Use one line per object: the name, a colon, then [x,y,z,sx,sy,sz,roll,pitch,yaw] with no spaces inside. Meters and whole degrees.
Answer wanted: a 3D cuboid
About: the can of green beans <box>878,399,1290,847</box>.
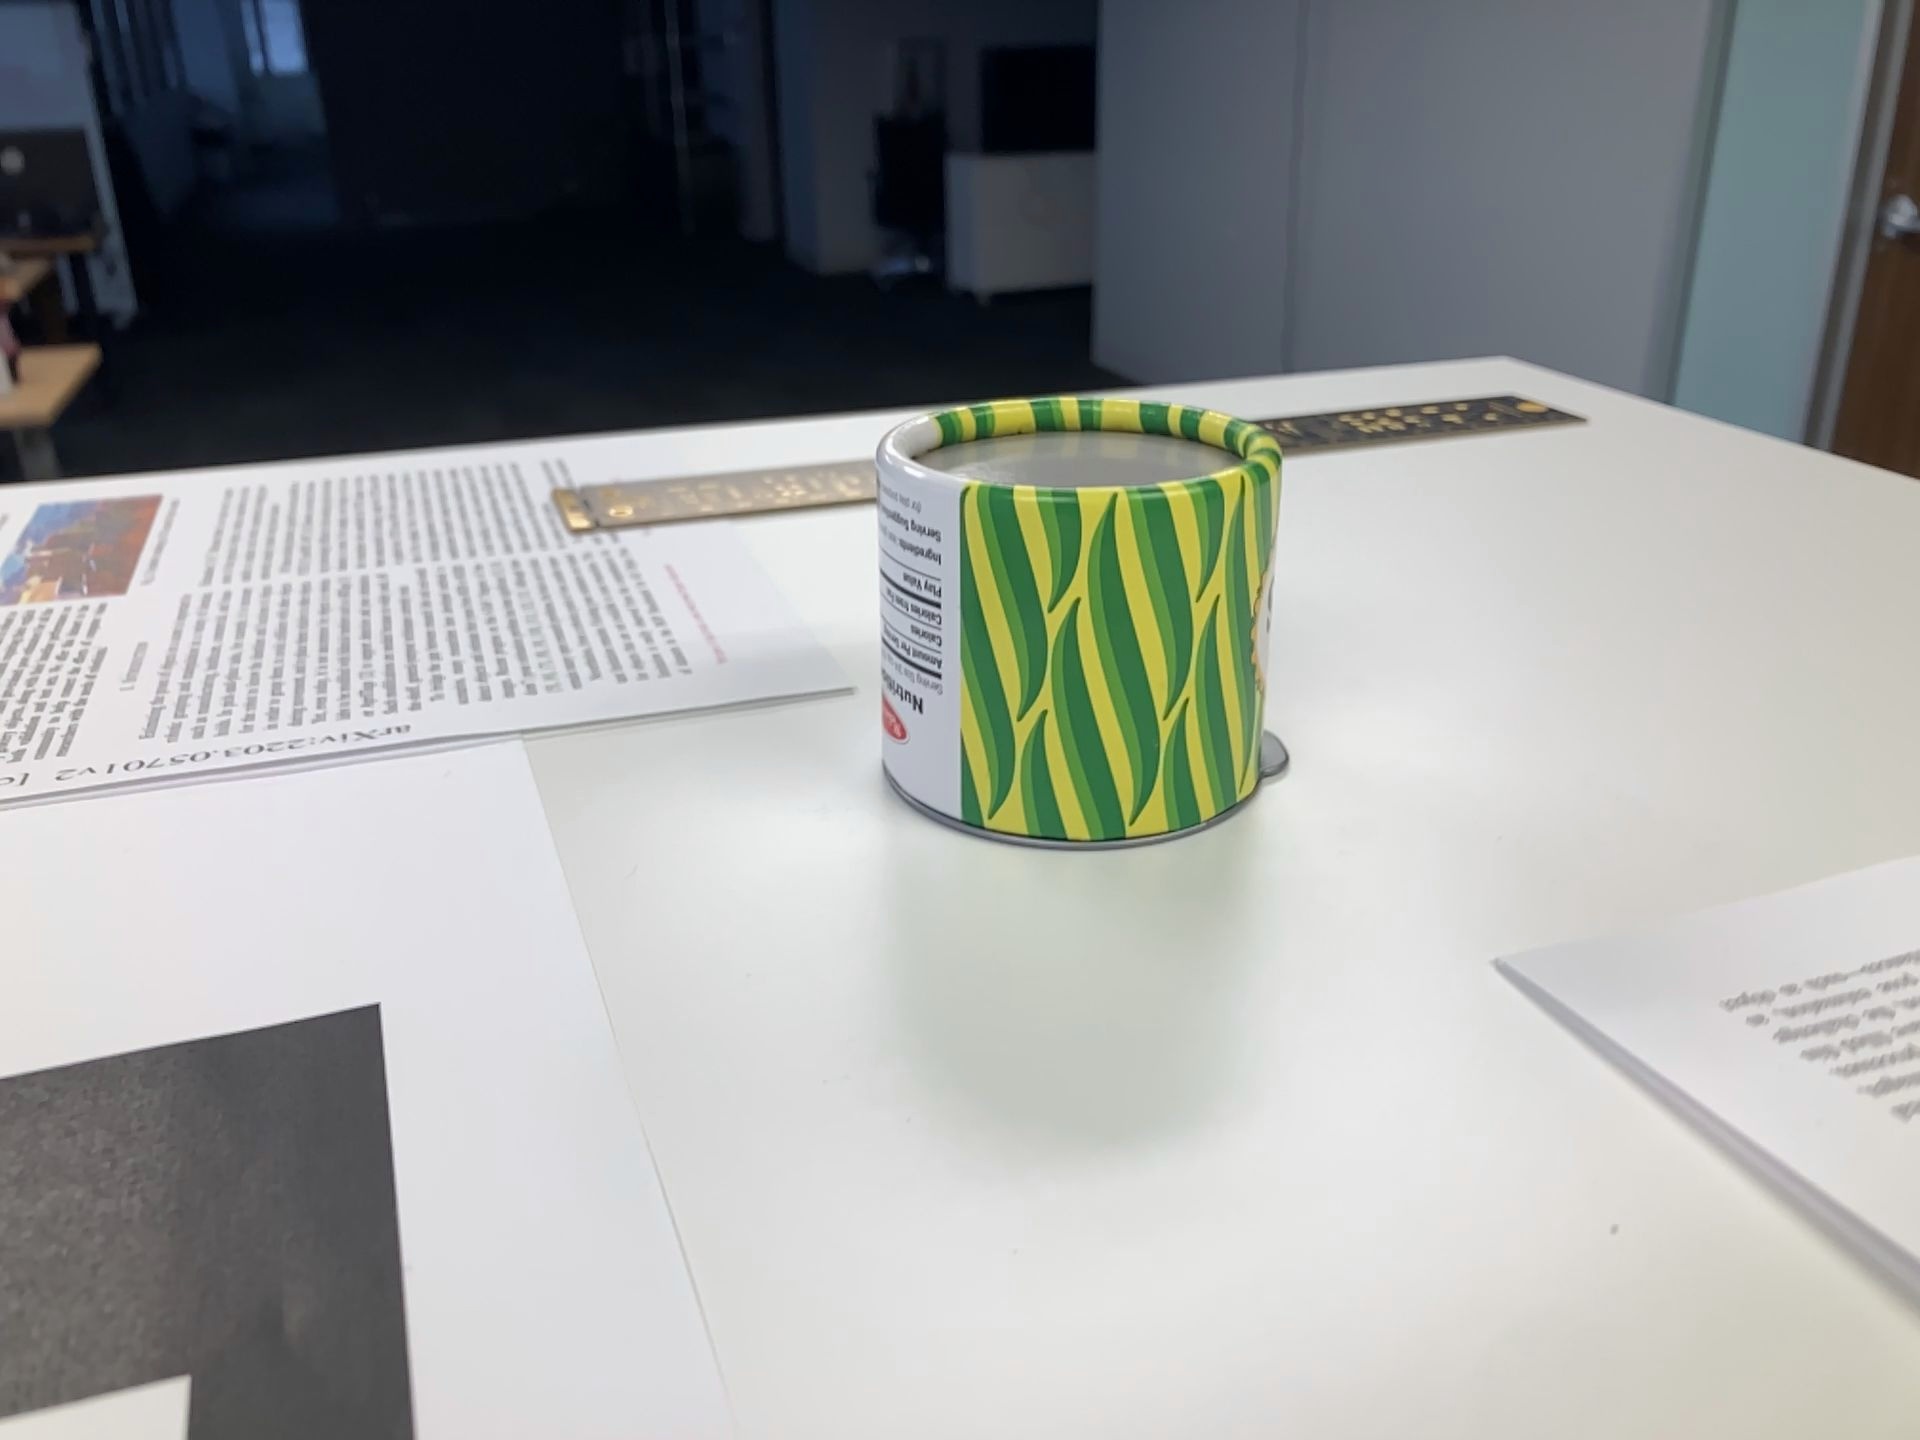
can of green beans: [0.020,-0.019,0.271,0.071,0.058,0.071,-1,23,0]
